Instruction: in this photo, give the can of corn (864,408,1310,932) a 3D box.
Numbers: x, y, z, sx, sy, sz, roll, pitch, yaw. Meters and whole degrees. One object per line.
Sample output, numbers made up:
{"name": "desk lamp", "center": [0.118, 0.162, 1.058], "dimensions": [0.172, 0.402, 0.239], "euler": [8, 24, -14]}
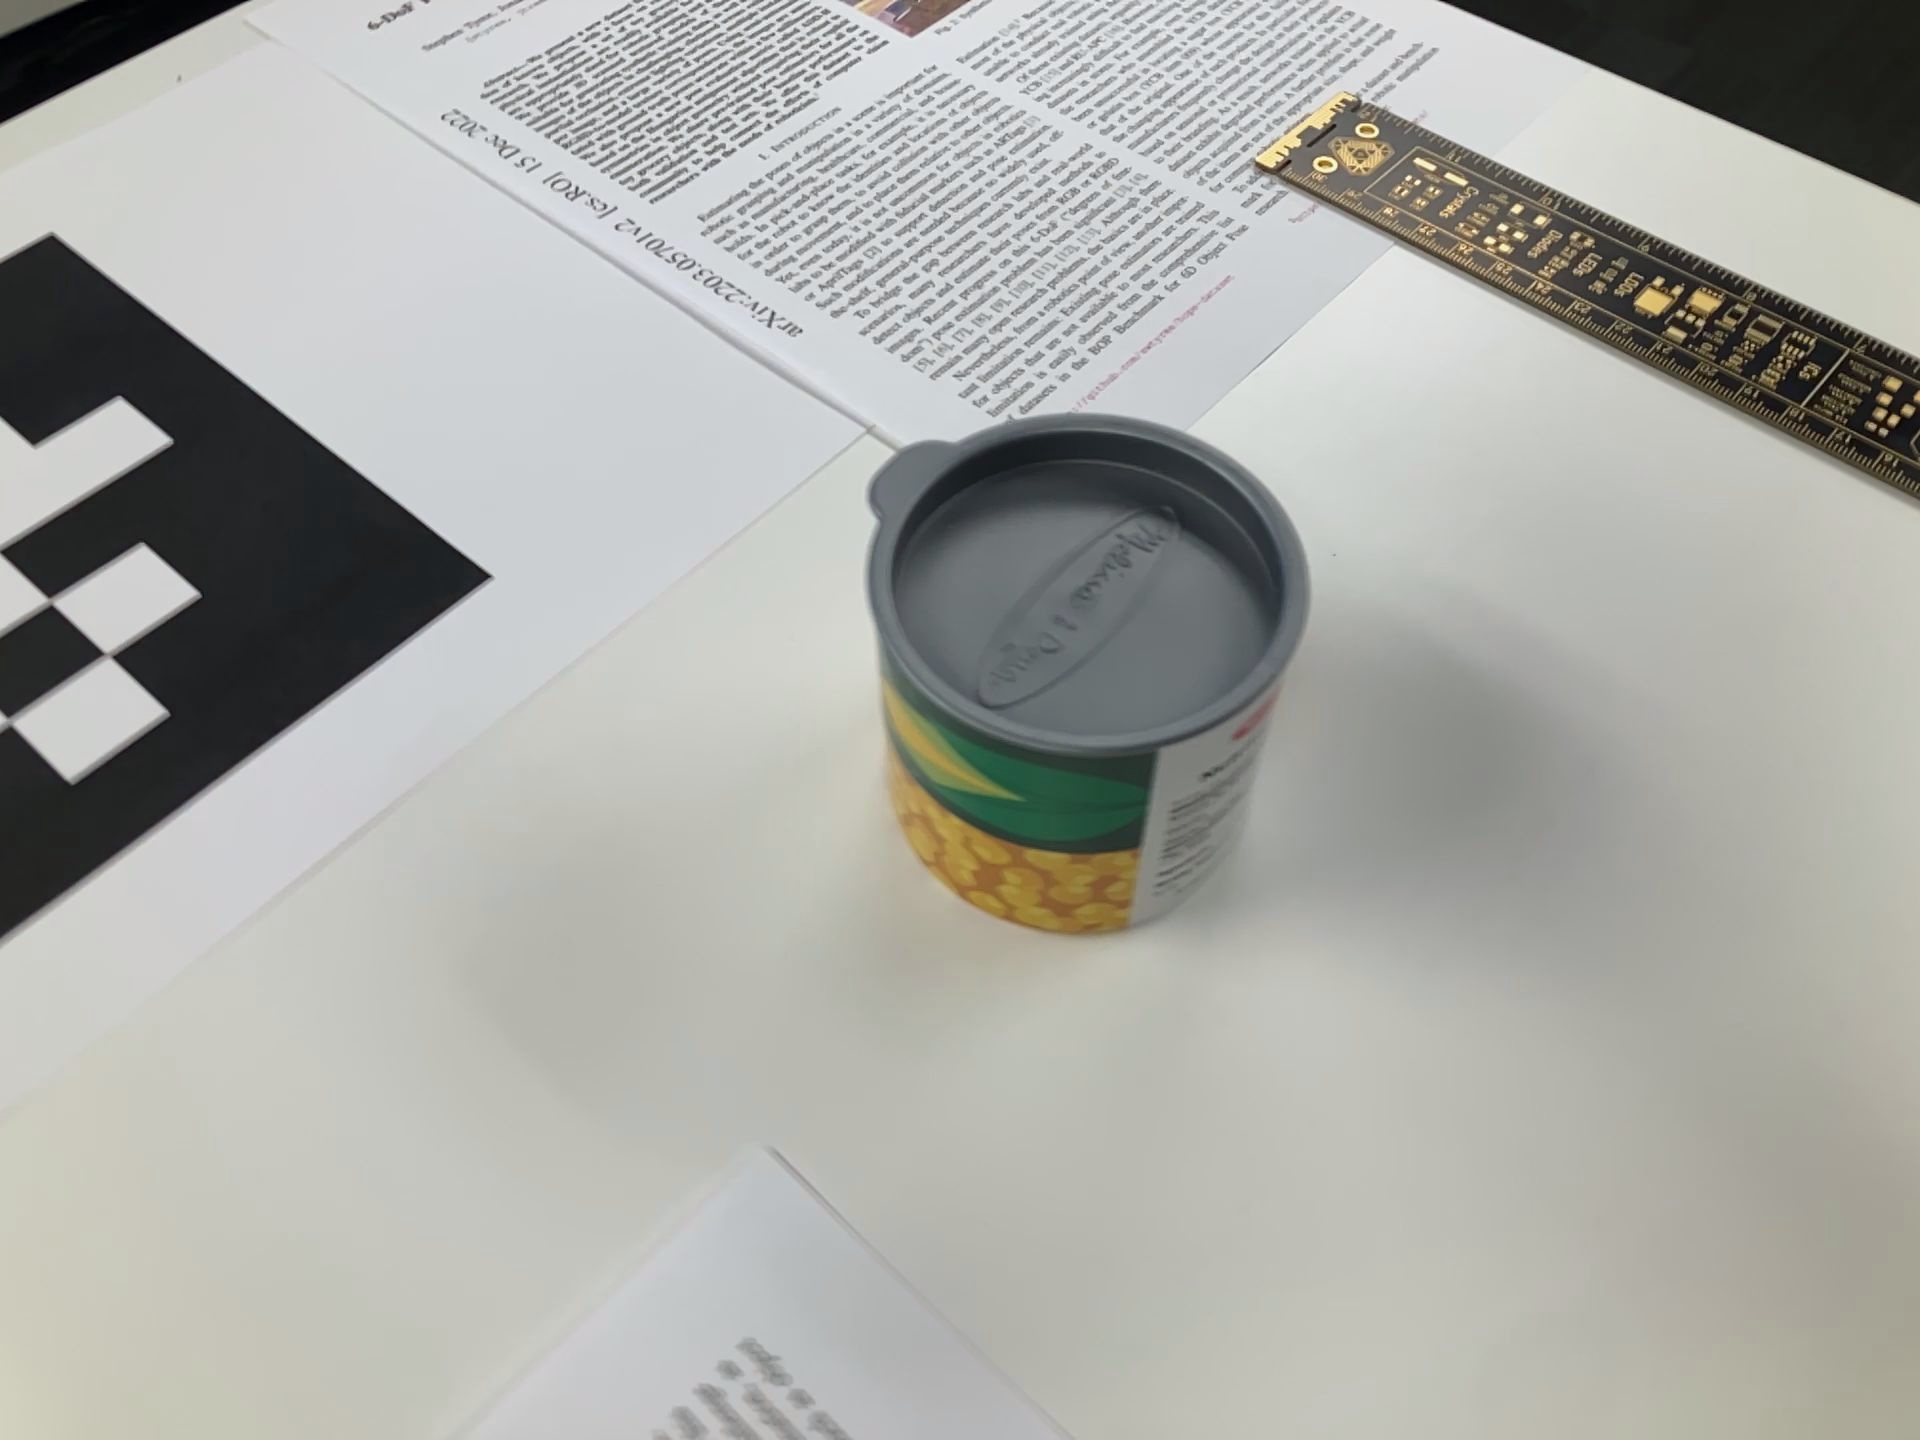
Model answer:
{"name": "can of corn", "center": [0.017, -0.008, 0.261], "dimensions": [0.071, 0.058, 0.071], "euler": [0, 55, 1]}
